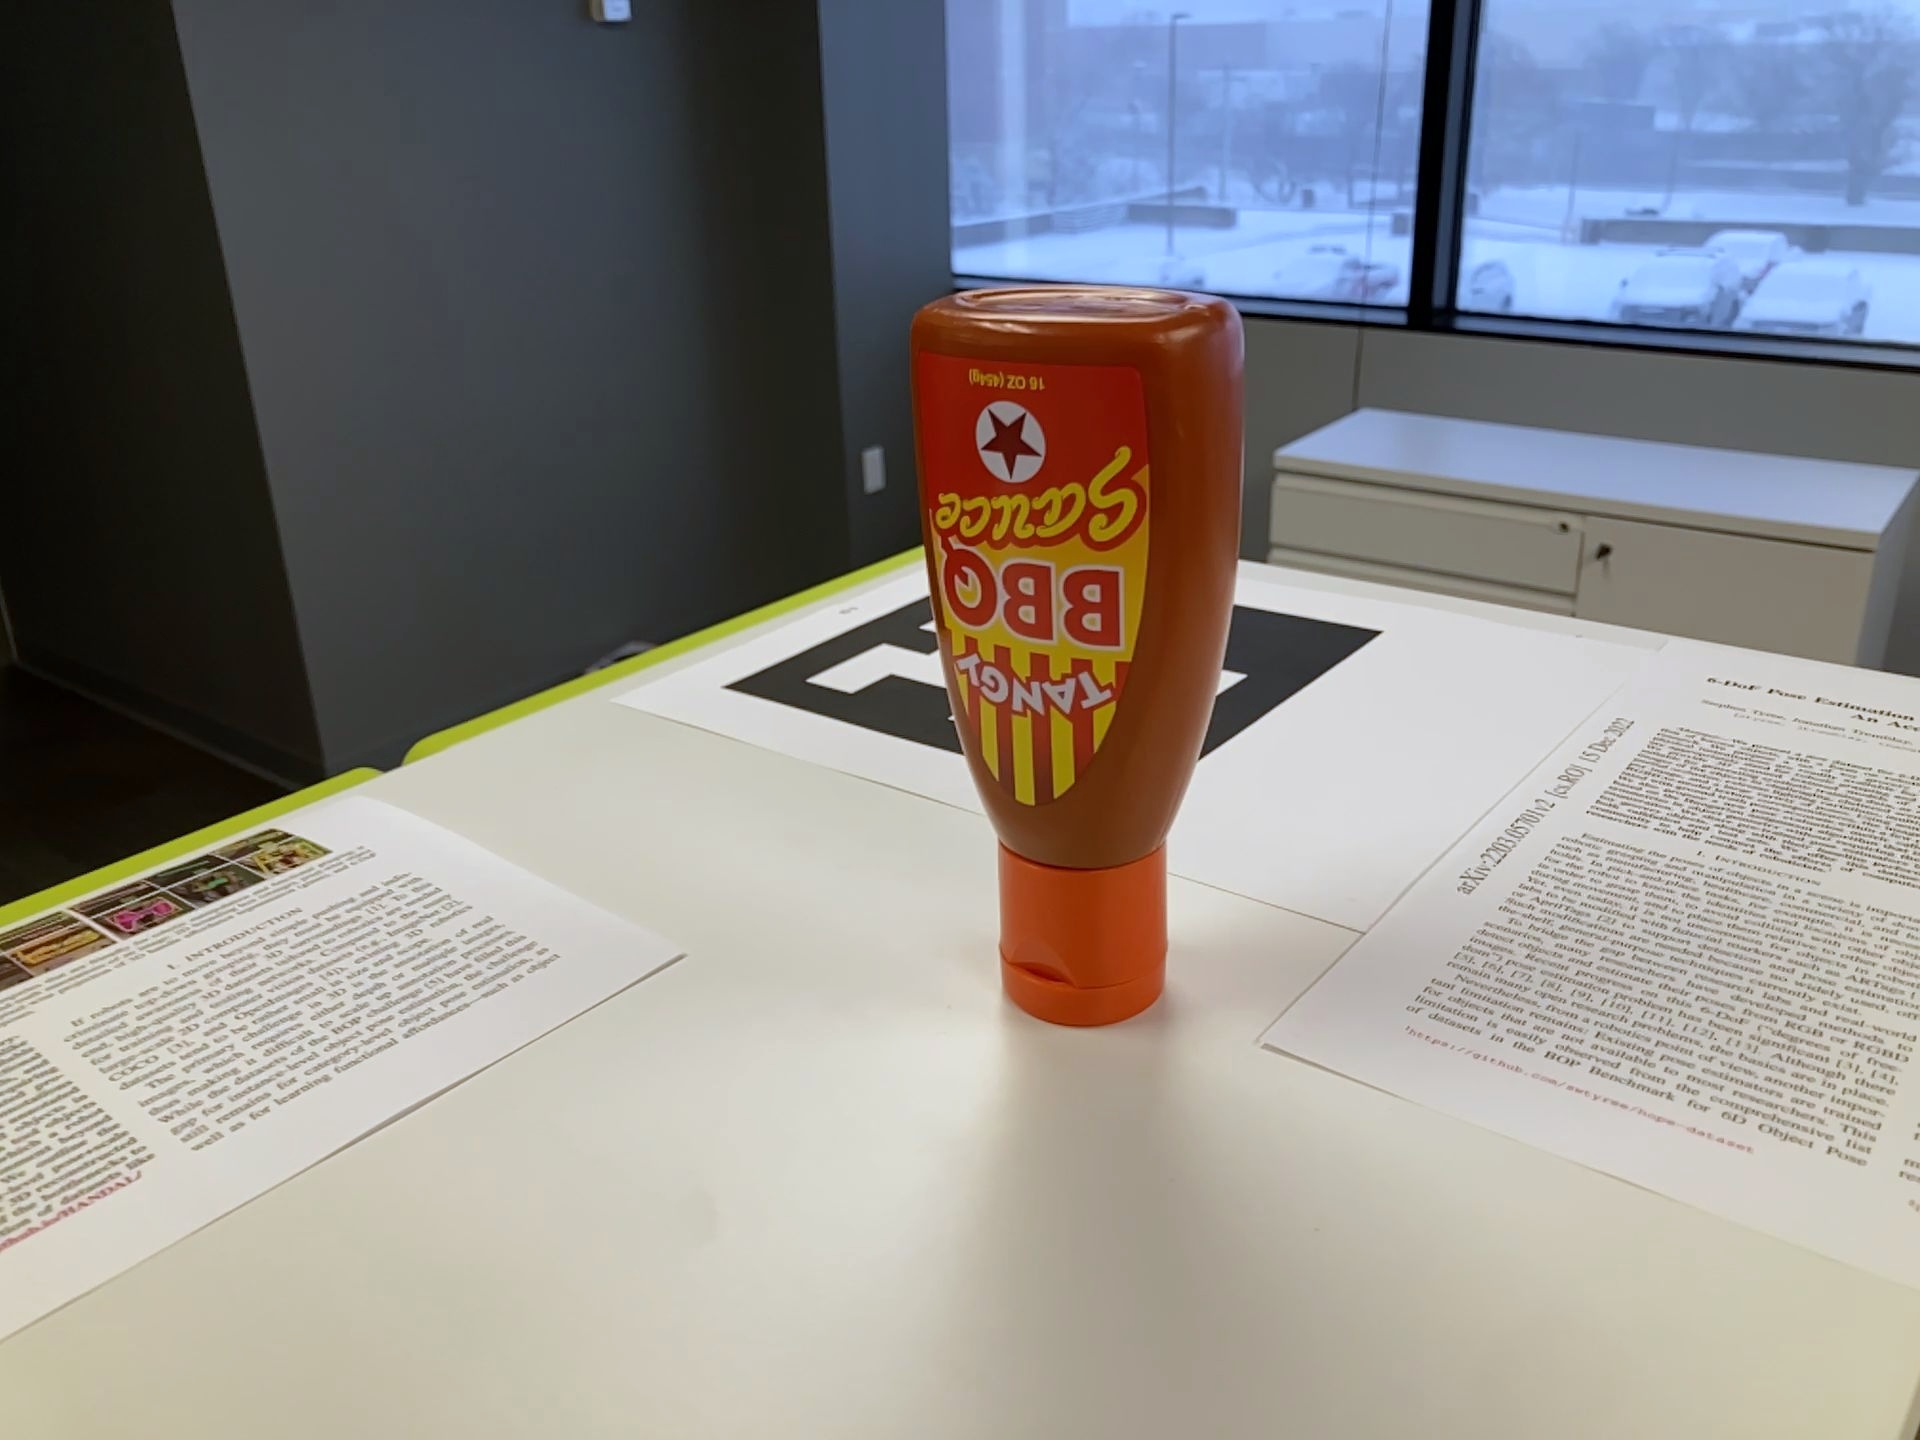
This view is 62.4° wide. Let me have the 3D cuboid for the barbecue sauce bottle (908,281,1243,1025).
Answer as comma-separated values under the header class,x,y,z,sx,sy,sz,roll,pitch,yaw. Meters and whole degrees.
class,x,y,z,sx,sy,sz,roll,pitch,yaw
barbecue sauce bottle,0.024,-0.011,0.322,0.065,0.148,0.043,13,27,34
